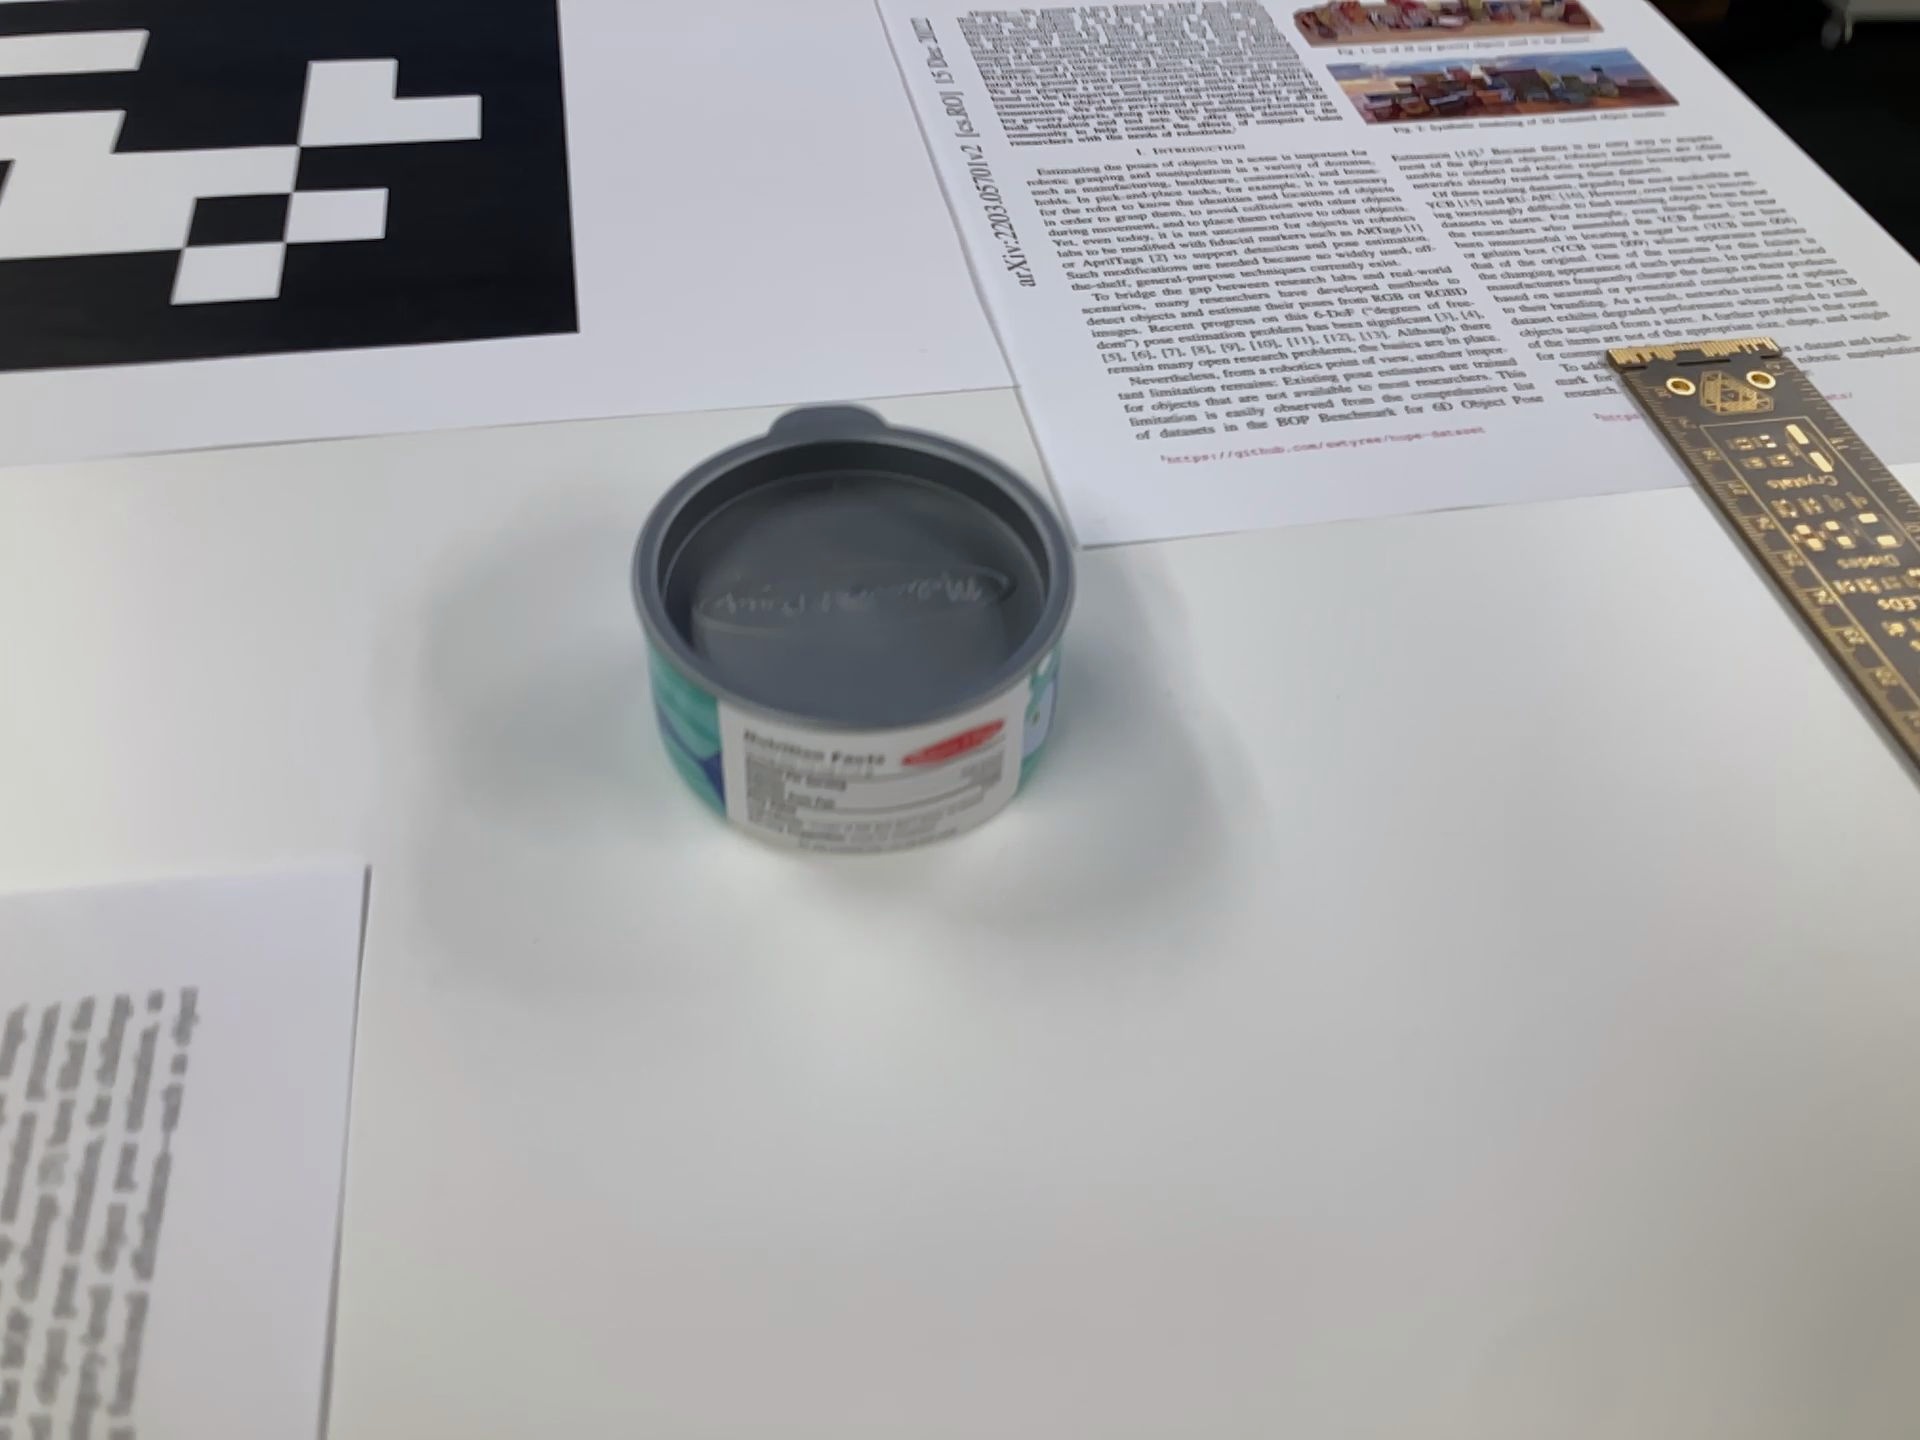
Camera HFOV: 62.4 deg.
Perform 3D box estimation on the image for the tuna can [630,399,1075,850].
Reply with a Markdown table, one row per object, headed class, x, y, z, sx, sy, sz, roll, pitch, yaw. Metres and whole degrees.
| class | x | y | z | sx | sy | sz | roll | pitch | yaw |
| --- | --- | --- | --- | --- | --- | --- | --- | --- | --- |
| tuna can | -0.017 | -0.016 | 0.249 | 0.071 | 0.033 | 0.071 | 2 | 48 | -2 |
